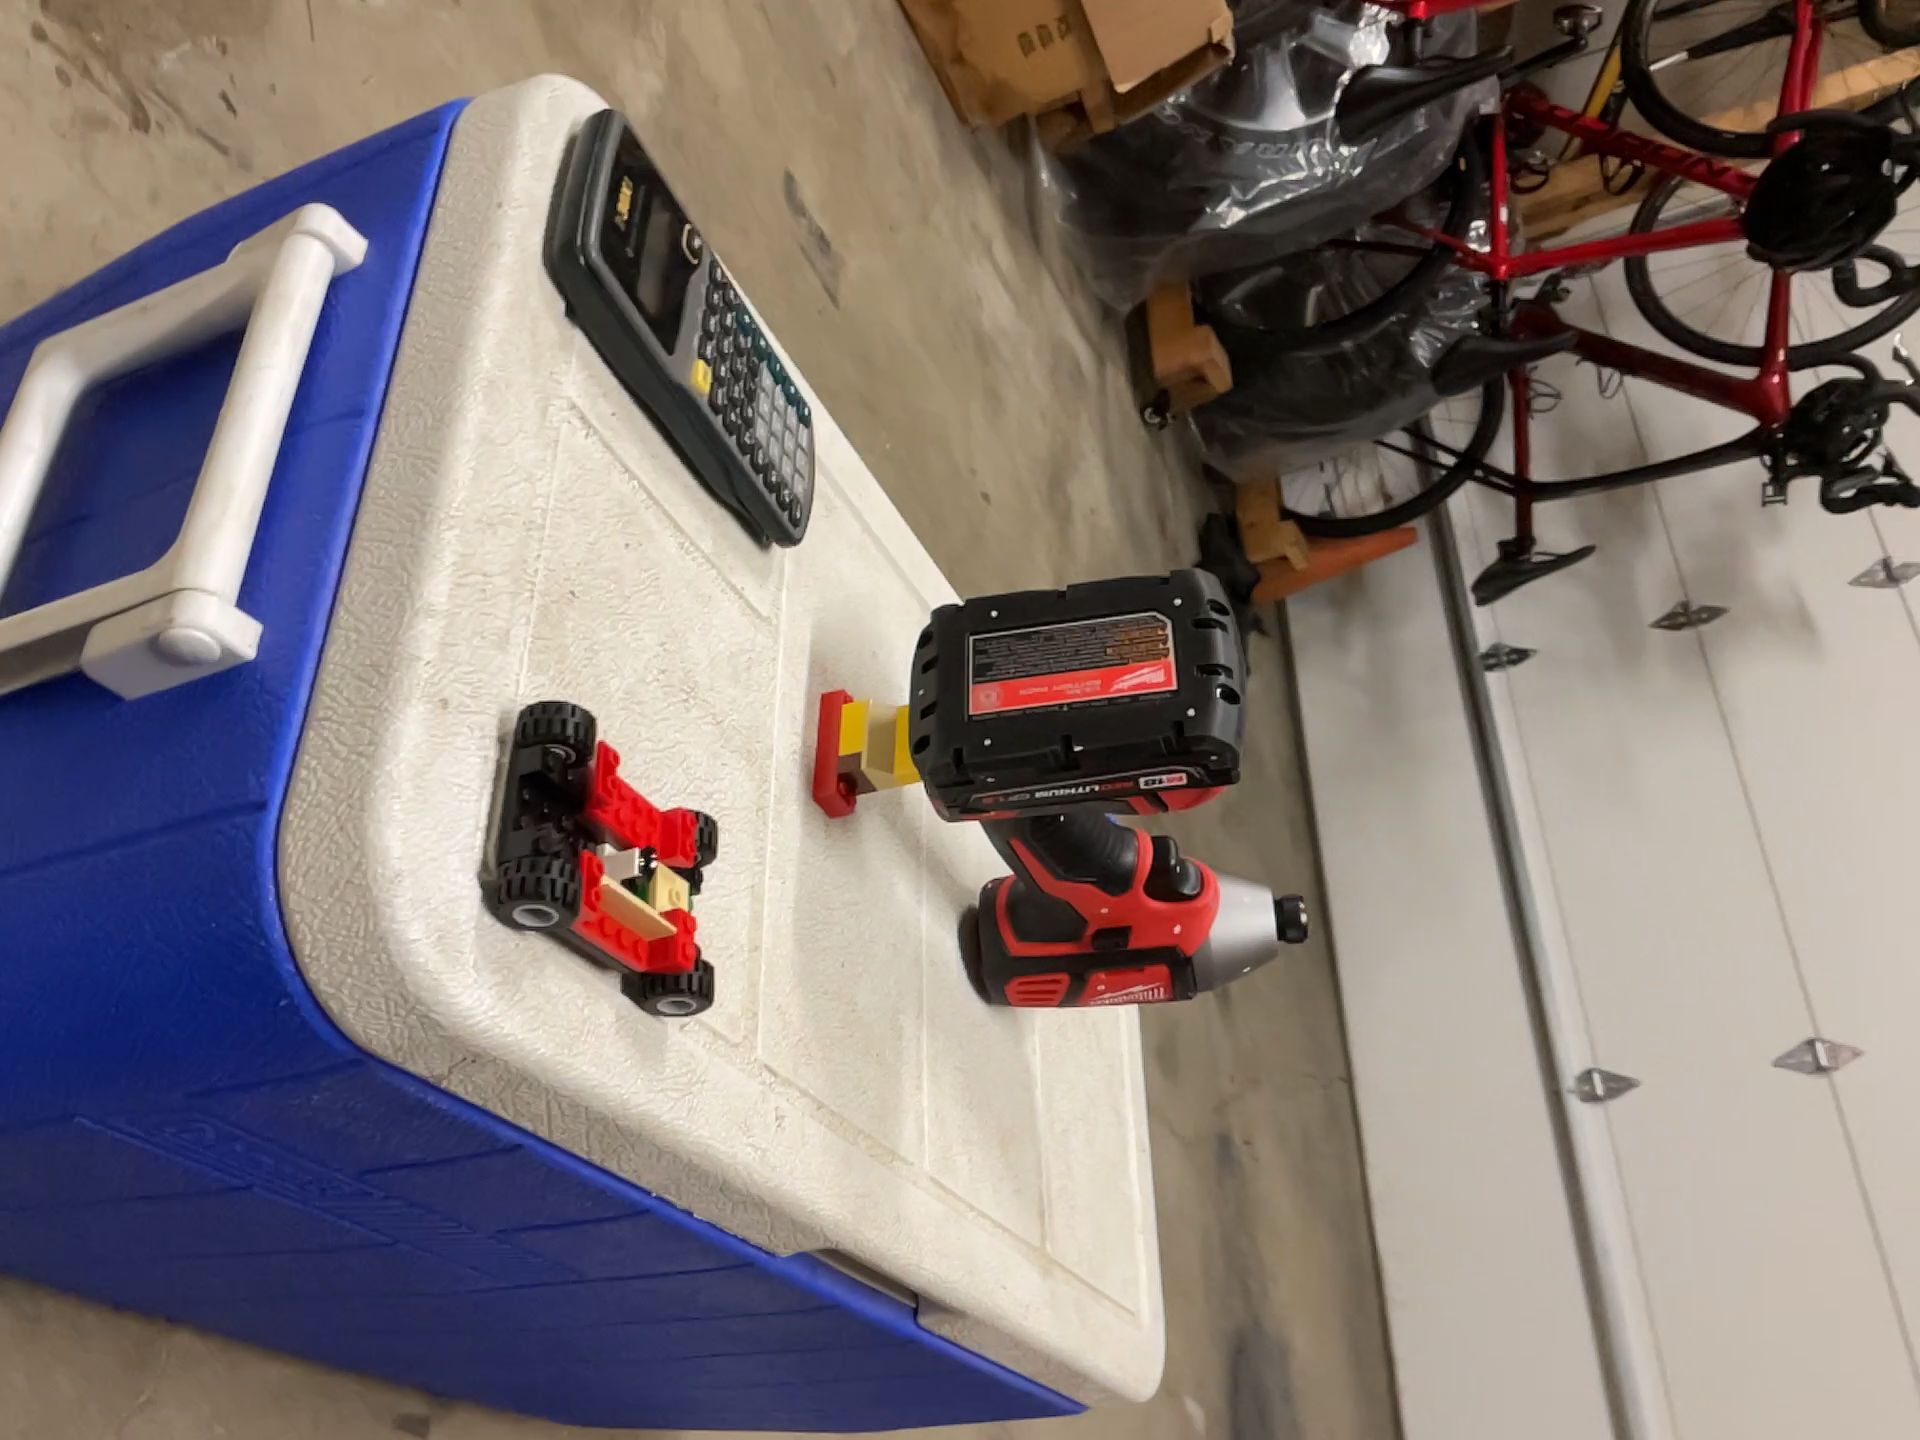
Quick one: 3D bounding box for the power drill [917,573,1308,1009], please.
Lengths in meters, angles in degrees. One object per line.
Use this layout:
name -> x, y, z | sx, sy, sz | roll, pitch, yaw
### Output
power drill -> 0.065, 0.045, 0.636 | 0.219, 0.143, 0.079 | 73, 14, -52
